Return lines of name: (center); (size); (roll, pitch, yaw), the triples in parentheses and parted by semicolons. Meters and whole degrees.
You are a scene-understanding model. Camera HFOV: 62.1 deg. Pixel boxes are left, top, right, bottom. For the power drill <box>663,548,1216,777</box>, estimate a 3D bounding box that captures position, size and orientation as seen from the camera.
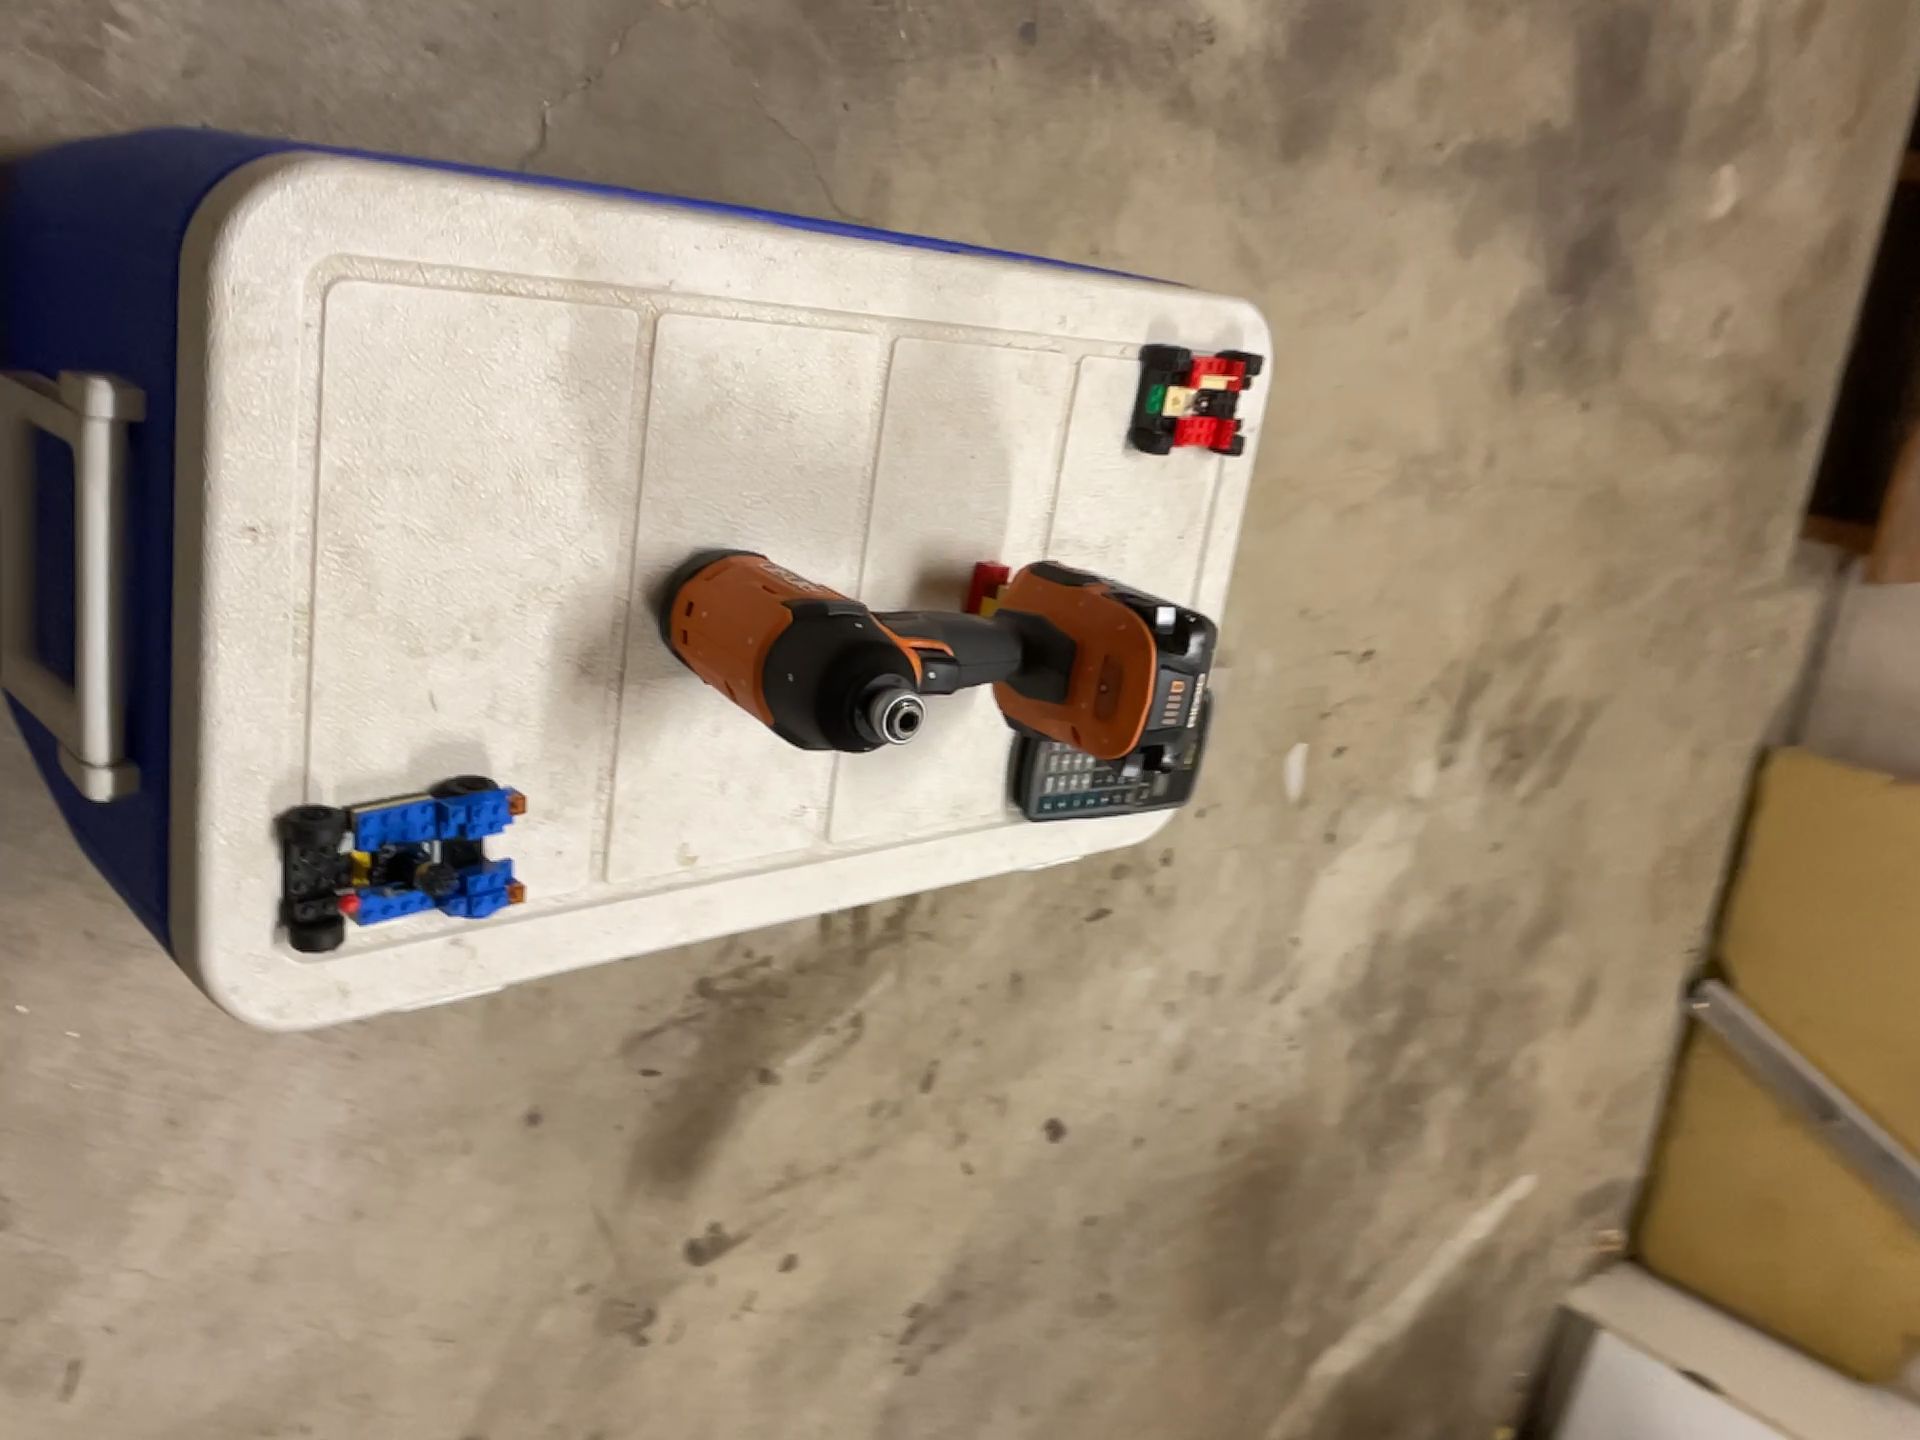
power drill: (0.002, -0.023, 0.710); (0.227, 0.164, 0.084); (1, 108, -34)
